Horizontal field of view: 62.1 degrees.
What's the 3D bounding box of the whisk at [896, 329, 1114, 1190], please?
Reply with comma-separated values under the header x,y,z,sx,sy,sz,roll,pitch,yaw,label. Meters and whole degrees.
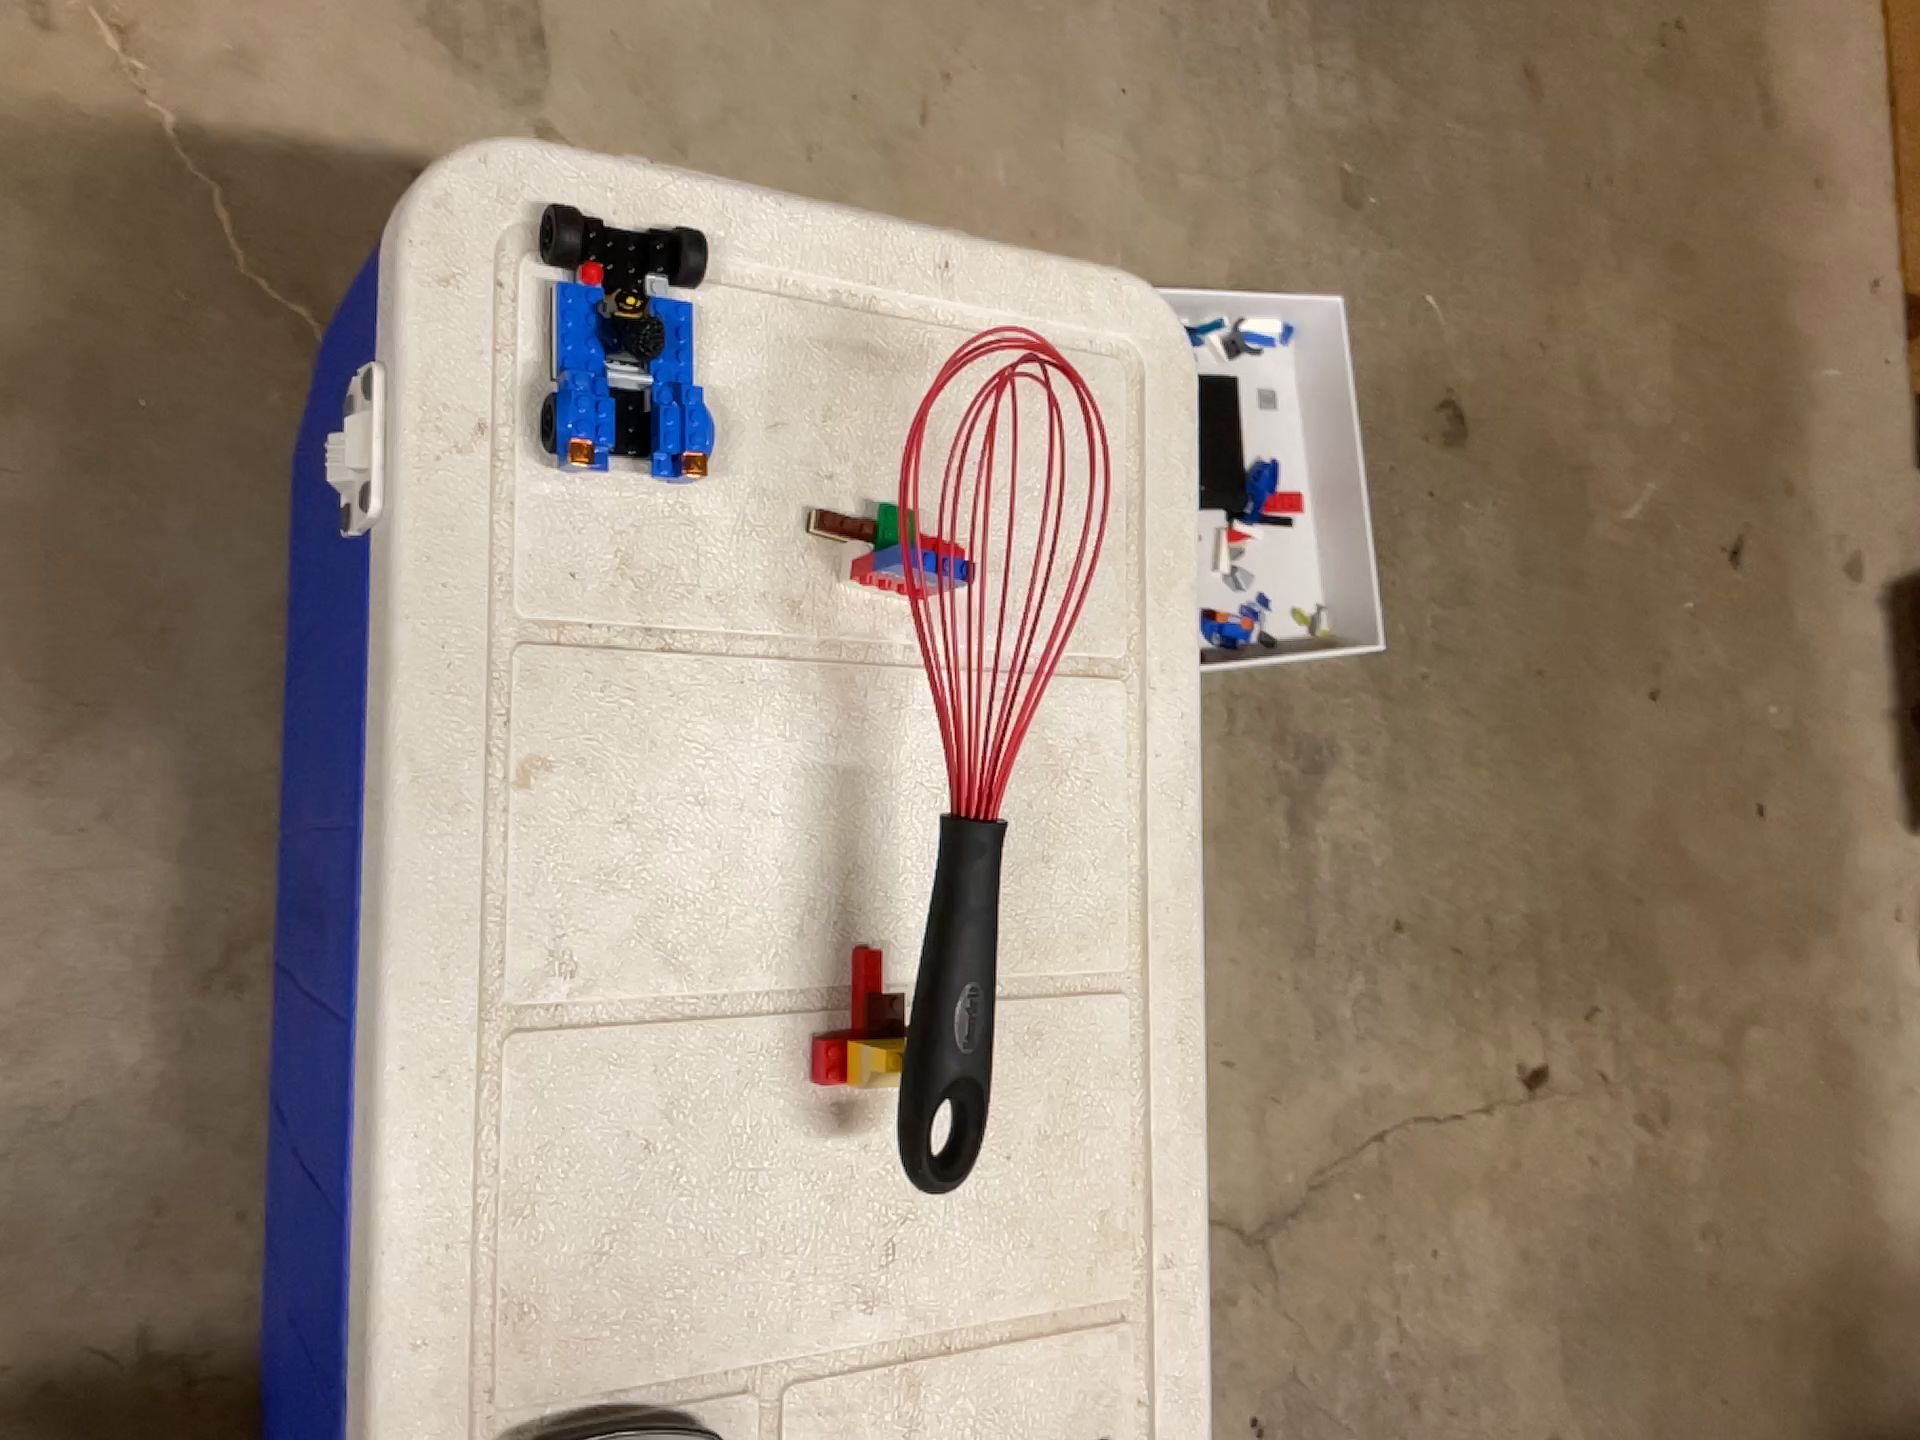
x,y,z,sx,sy,sz,roll,pitch,yaw,label
0.007,0.015,0.545,0.073,0.073,0.296,5,93,-33,whisk
